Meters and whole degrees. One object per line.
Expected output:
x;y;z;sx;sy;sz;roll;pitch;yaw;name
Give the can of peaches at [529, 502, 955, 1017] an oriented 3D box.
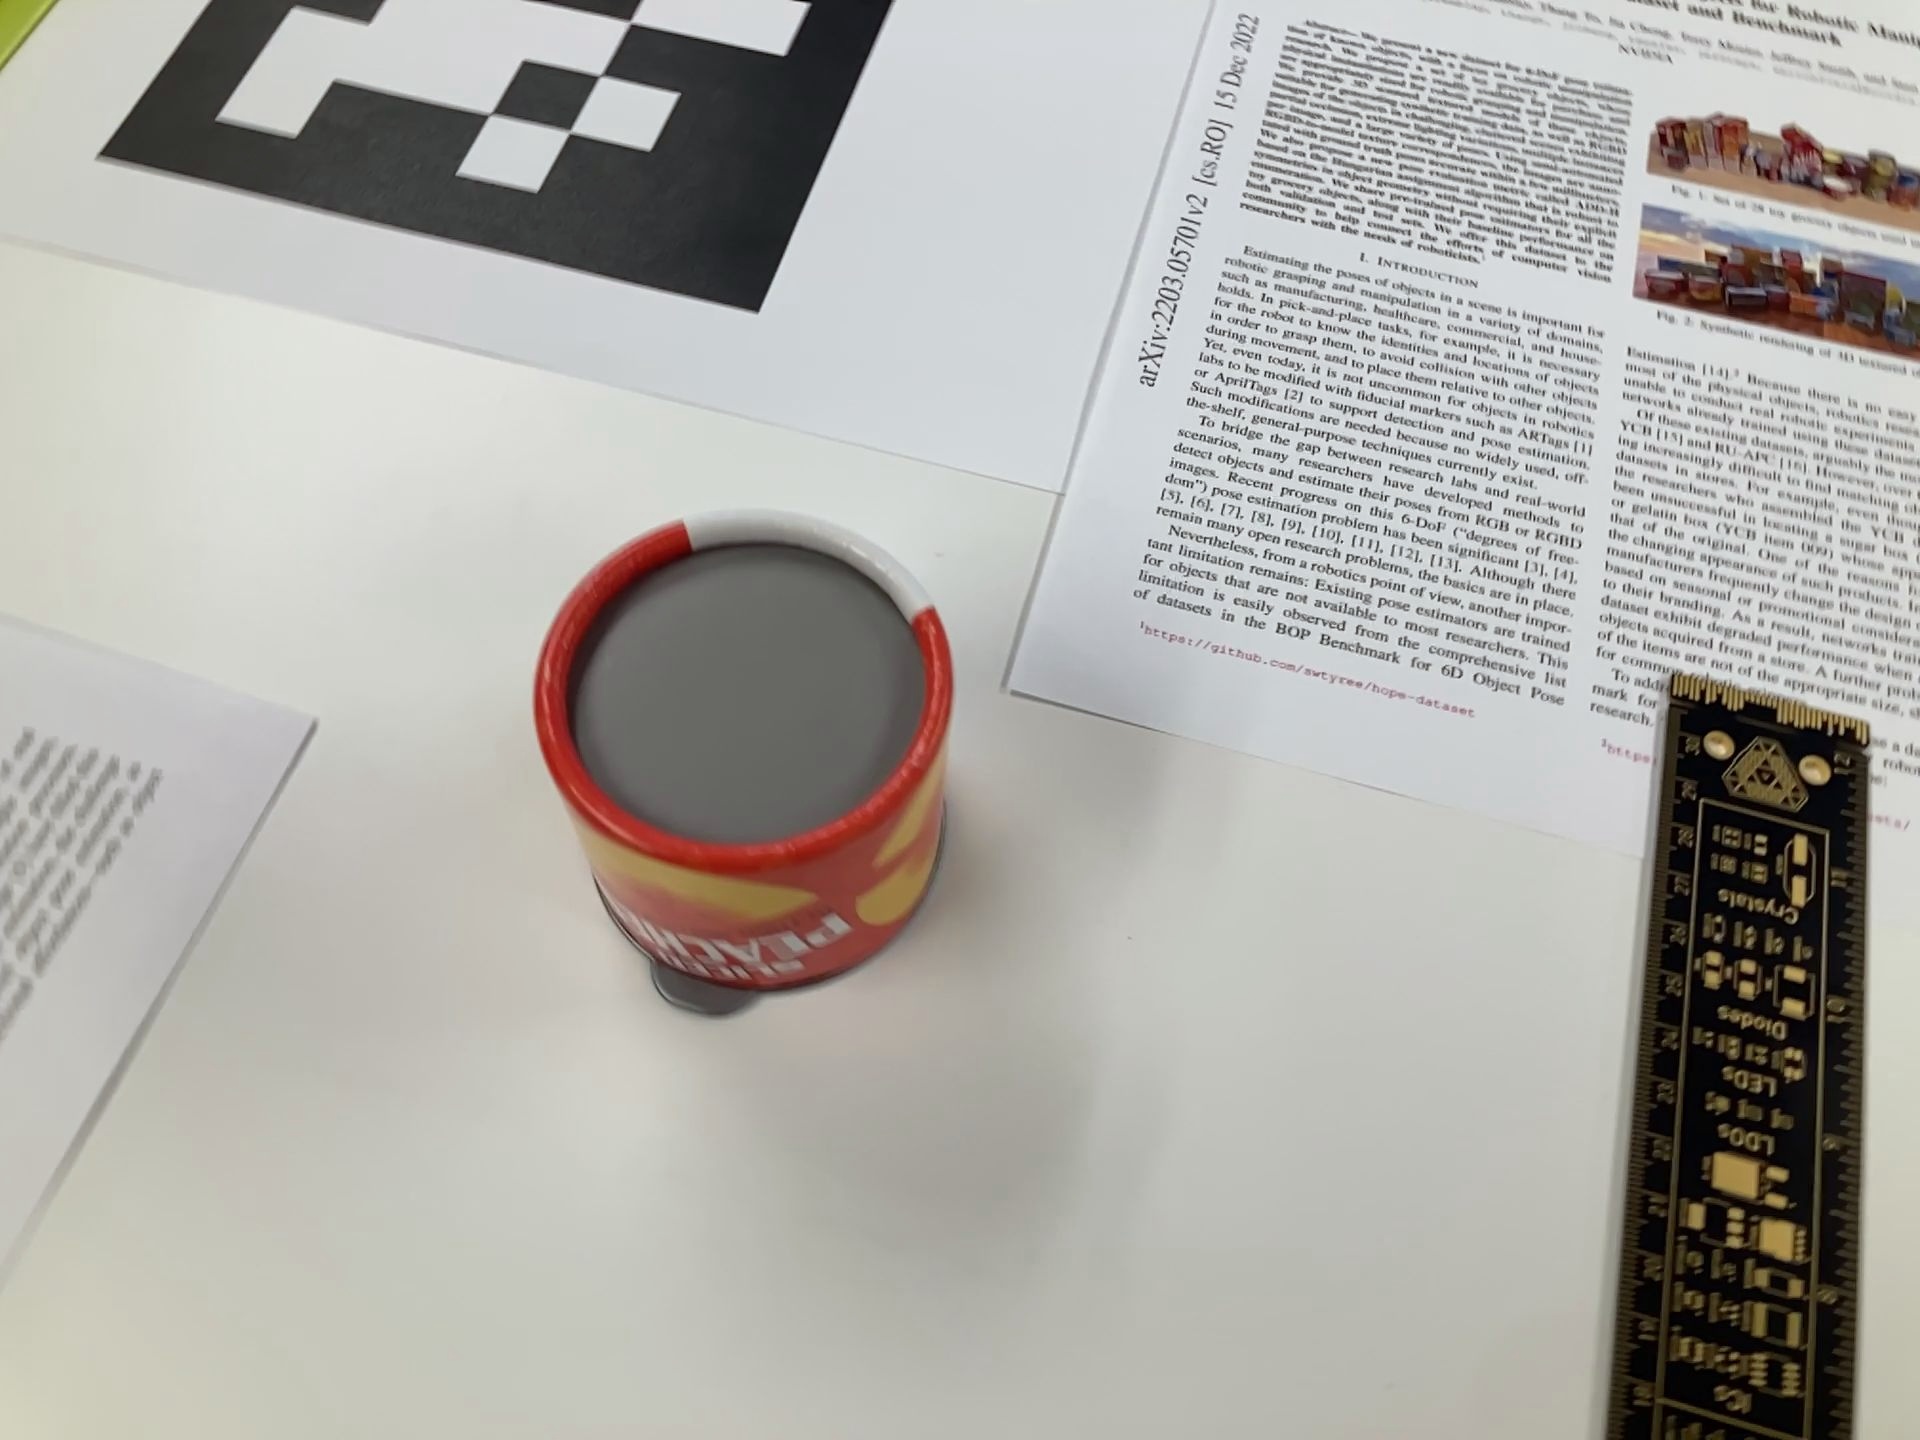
-0.035;0.008;0.266;0.071;0.058;0.071;1;62;-2;can of peaches
